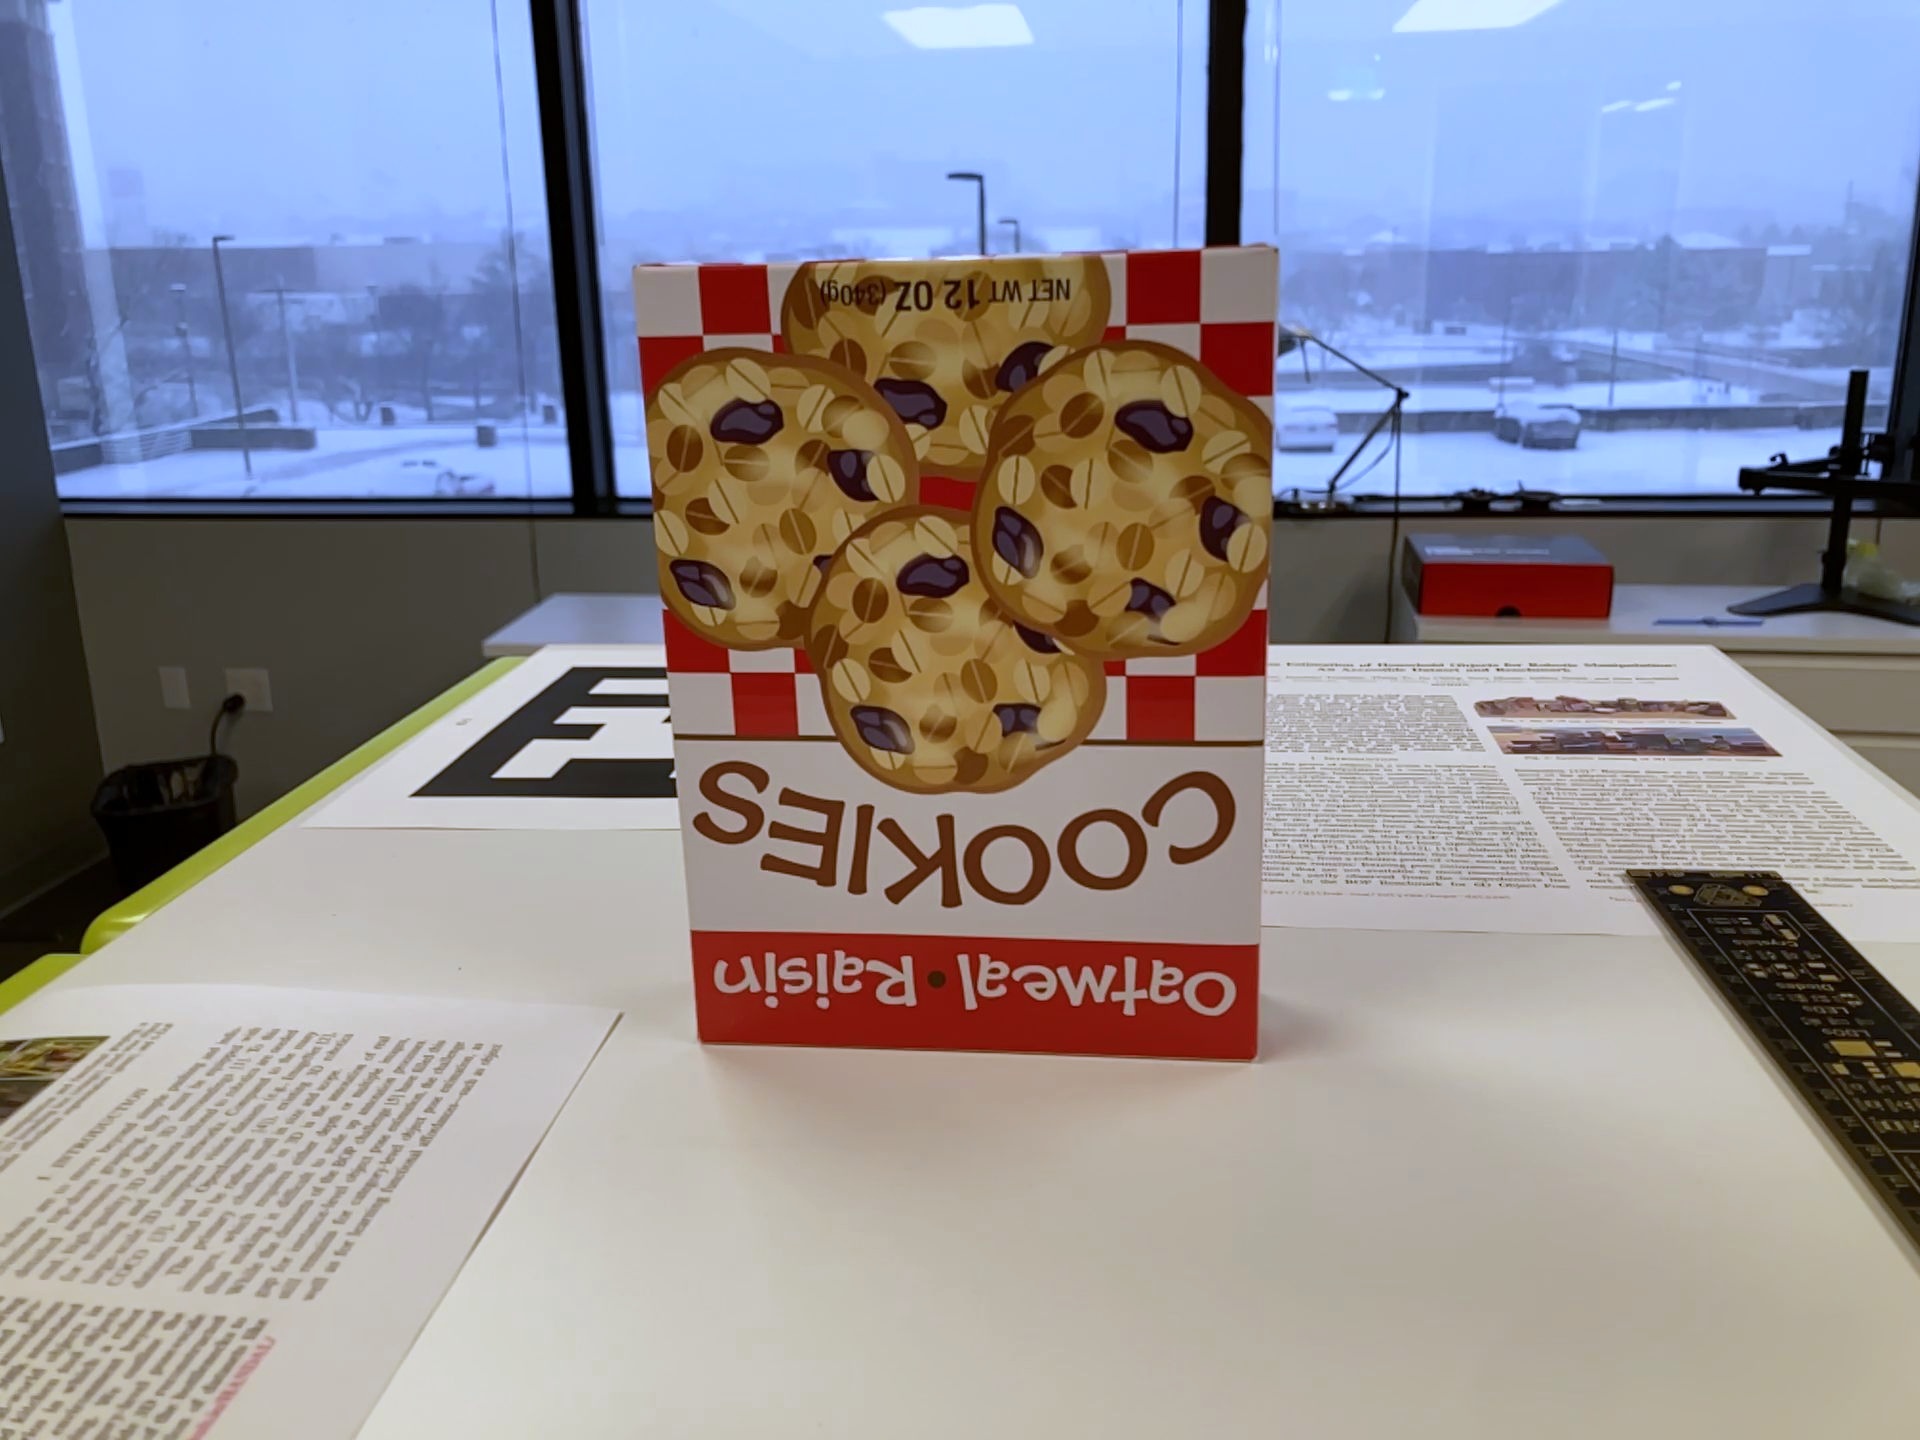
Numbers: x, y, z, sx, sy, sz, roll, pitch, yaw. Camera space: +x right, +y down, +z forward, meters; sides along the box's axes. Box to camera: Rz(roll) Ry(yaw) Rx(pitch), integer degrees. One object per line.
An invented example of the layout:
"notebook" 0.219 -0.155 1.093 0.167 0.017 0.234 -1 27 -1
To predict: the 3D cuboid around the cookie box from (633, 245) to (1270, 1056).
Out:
"cookie box" 0.002 -0.012 0.339 0.123 0.167 0.040 0 16 8
